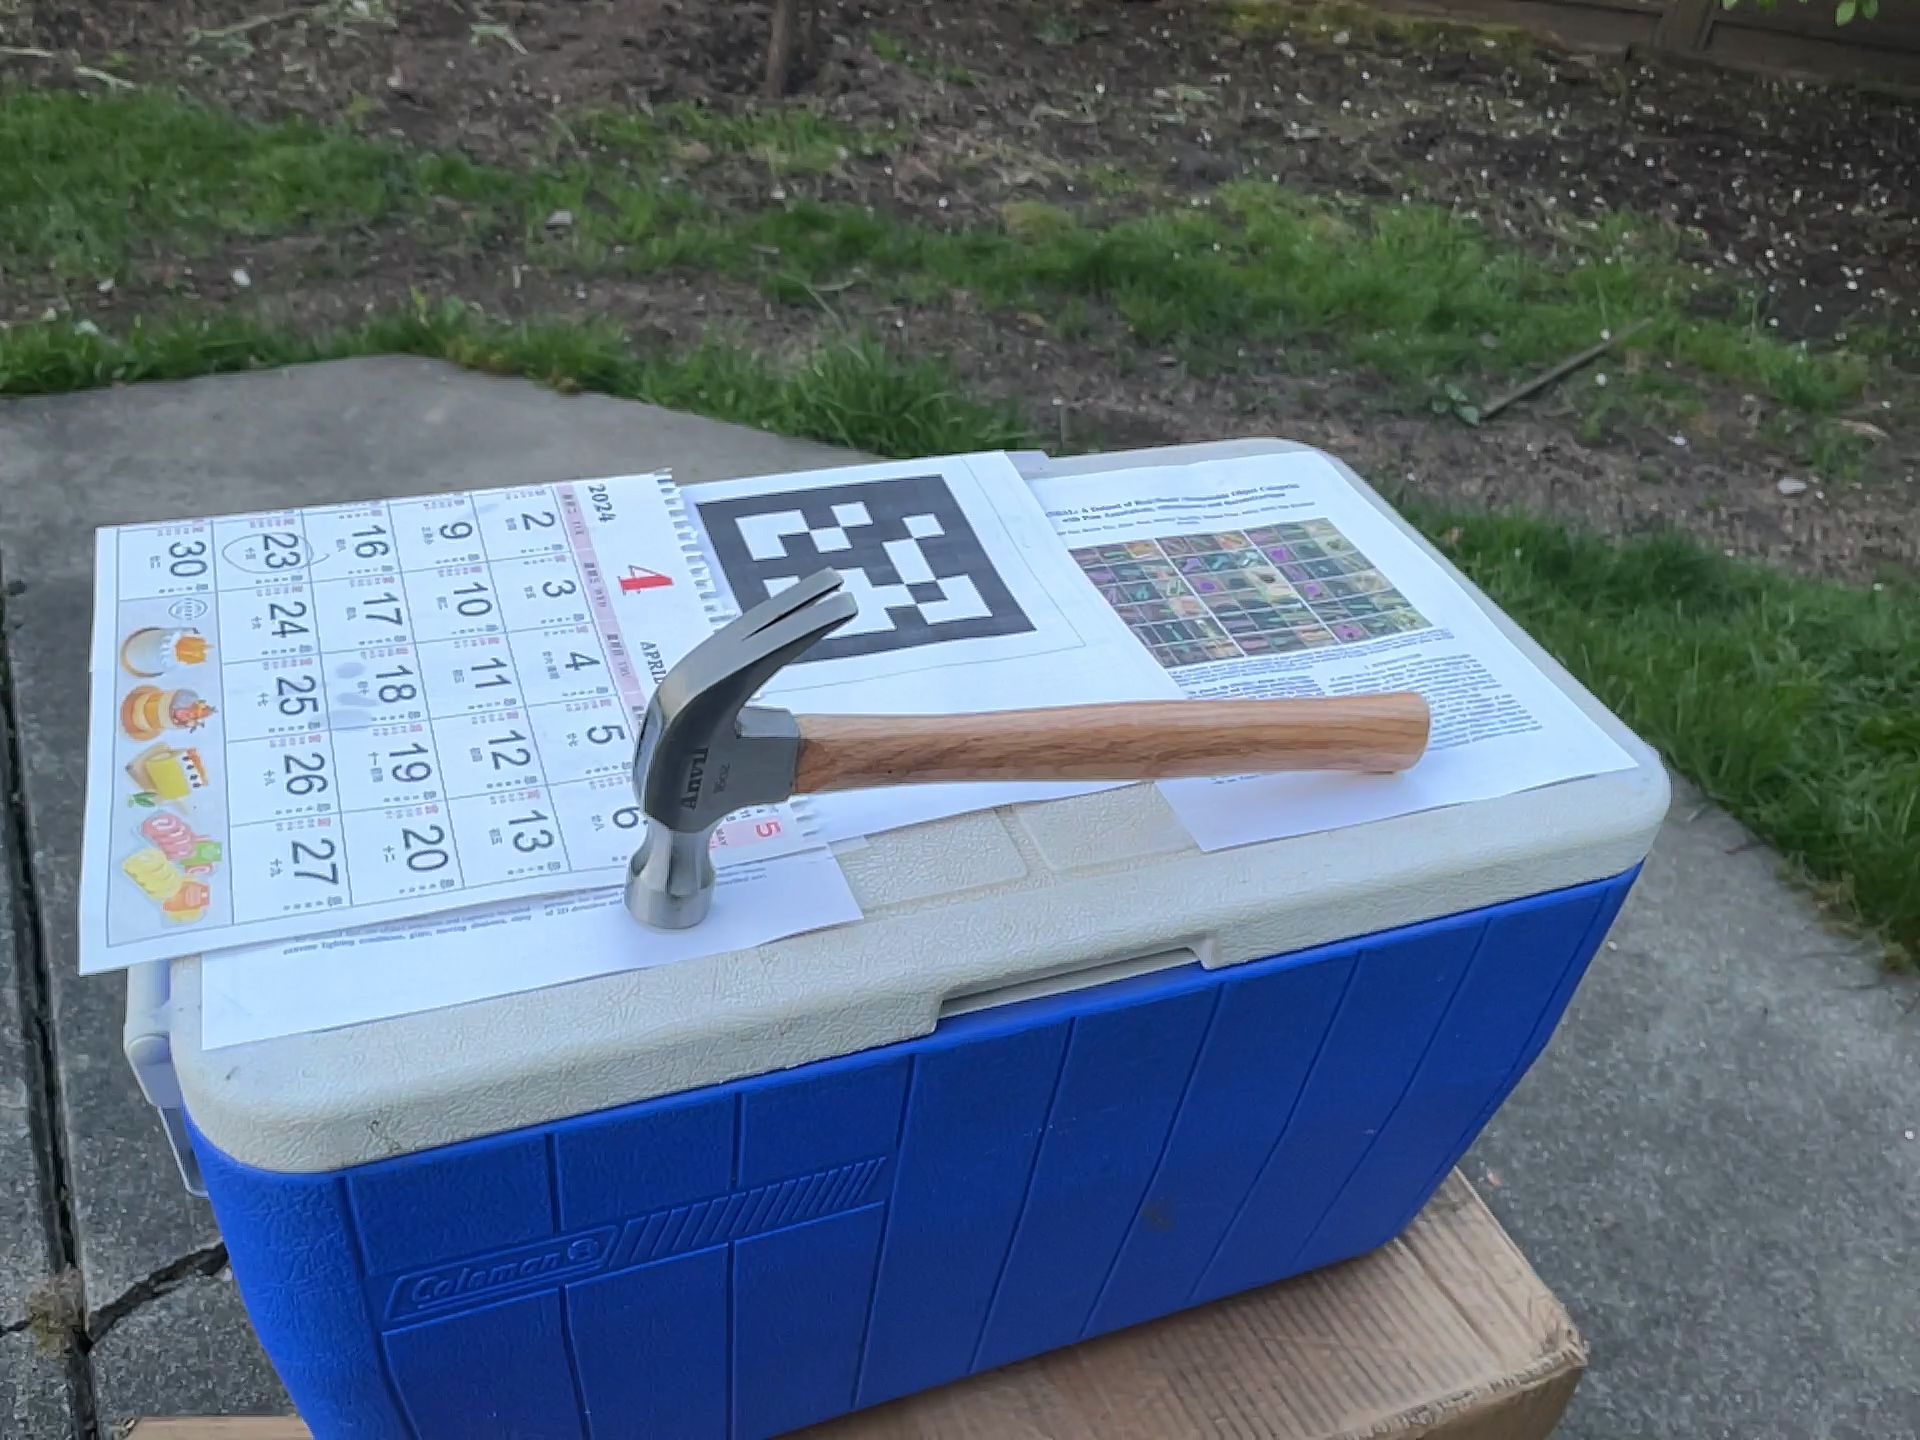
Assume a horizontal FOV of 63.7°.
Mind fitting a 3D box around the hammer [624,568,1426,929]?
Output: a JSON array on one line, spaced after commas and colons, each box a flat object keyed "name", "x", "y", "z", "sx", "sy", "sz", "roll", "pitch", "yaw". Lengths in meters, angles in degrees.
[{"name": "hammer", "x": 0.043, "y": 0.008, "z": 0.588, "sx": 0.331, "sy": 0.130, "sz": 0.031, "roll": -2, "pitch": 34, "yaw": -26}]
